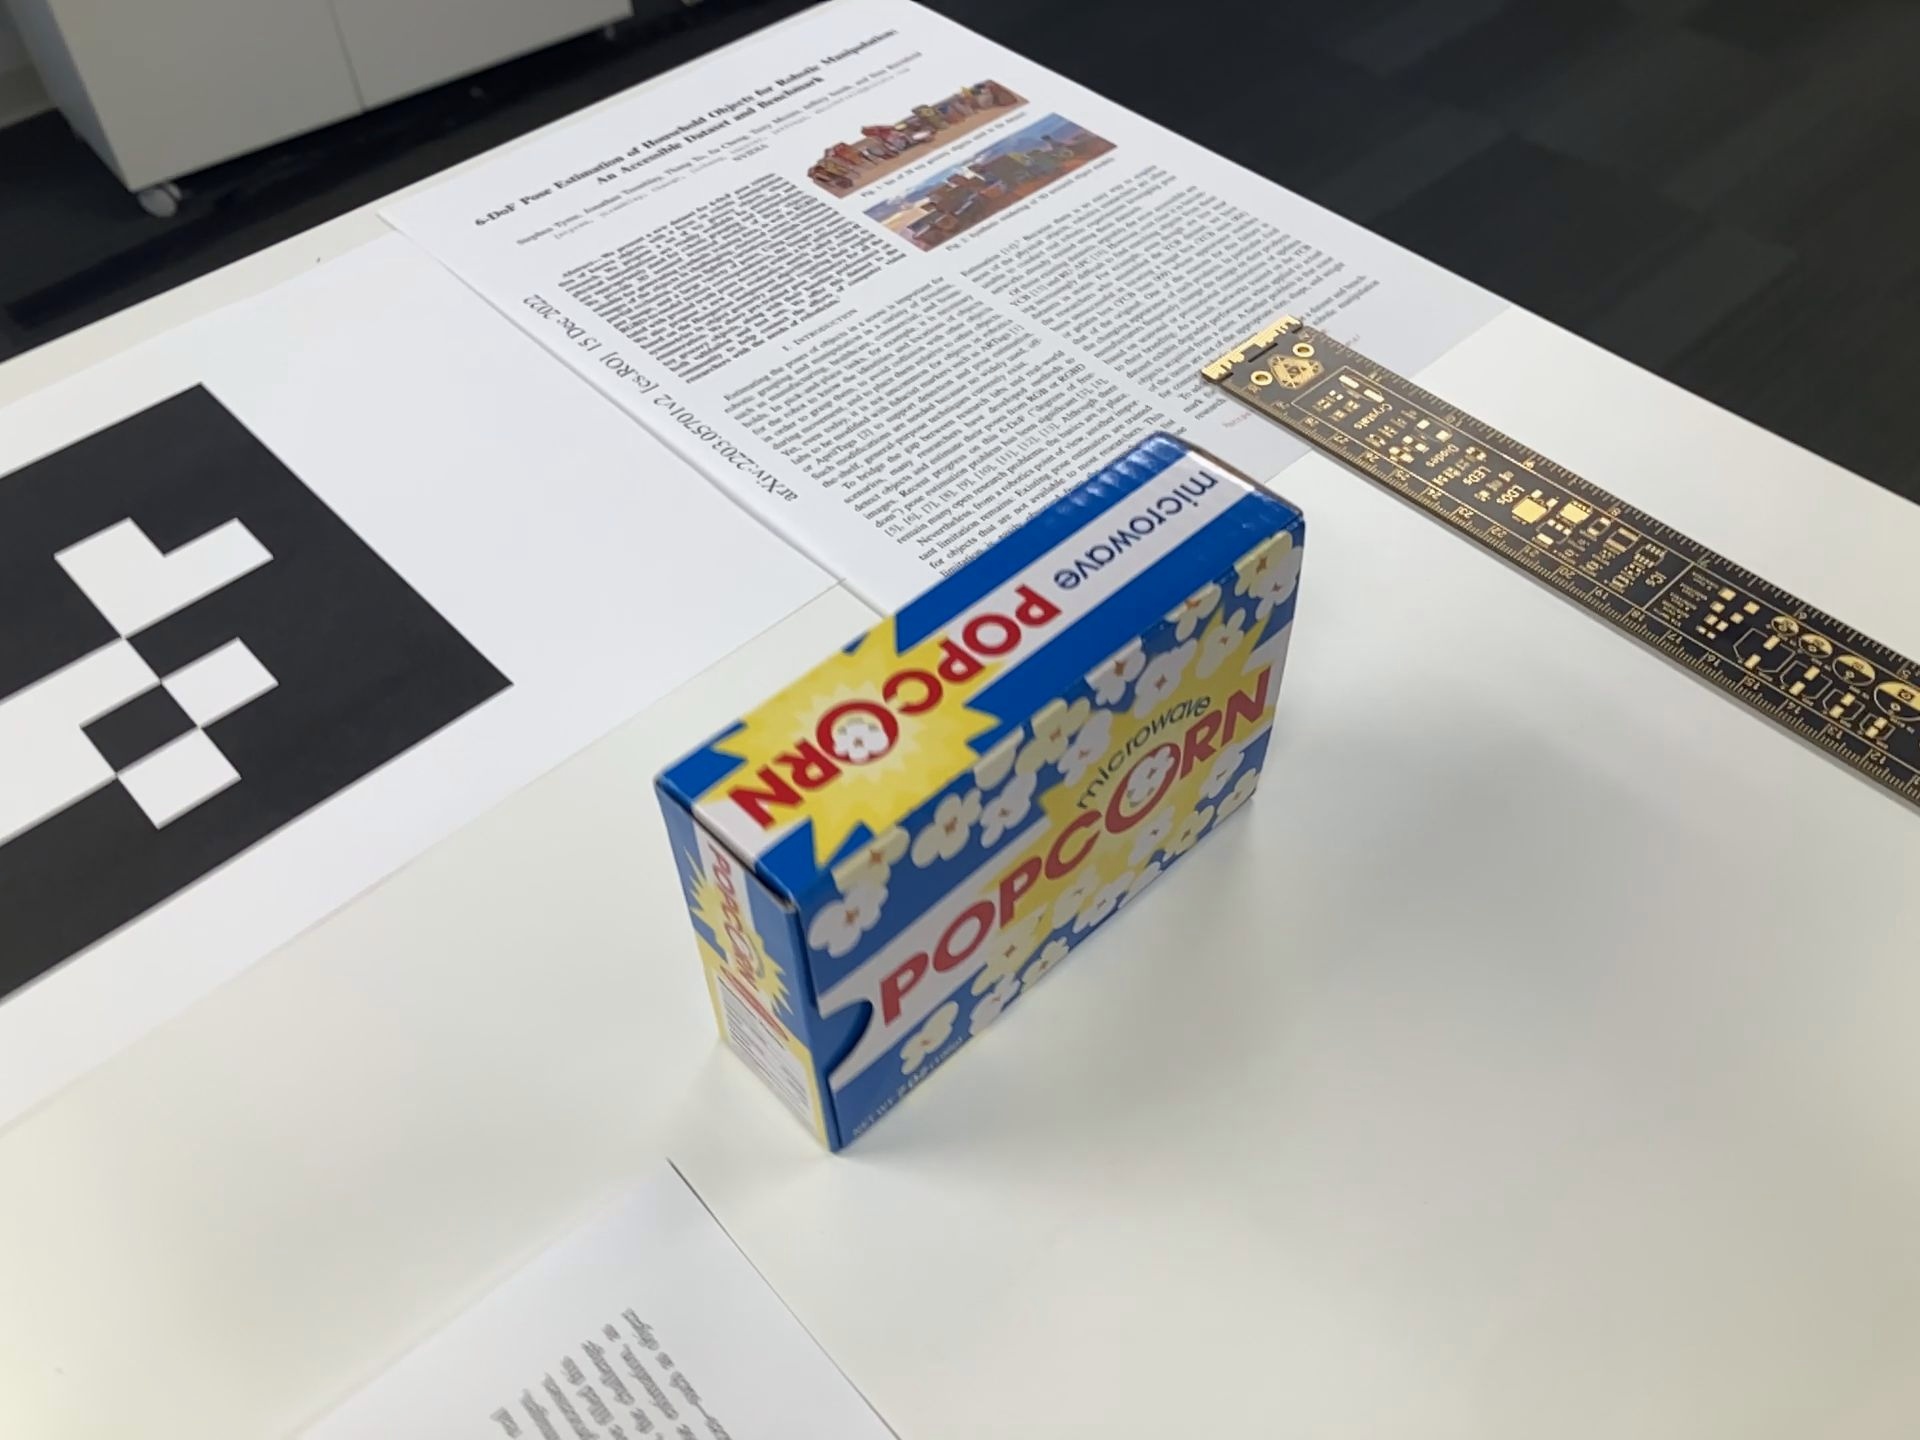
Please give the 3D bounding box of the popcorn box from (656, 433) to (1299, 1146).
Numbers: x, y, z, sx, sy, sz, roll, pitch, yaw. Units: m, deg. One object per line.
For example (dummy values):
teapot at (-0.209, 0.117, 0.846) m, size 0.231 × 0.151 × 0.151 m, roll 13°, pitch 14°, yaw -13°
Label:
popcorn box at (0.008, 0.012, 0.307) m, size 0.126 × 0.085 × 0.038 m, roll -36°, pitch 58°, yaw -26°
